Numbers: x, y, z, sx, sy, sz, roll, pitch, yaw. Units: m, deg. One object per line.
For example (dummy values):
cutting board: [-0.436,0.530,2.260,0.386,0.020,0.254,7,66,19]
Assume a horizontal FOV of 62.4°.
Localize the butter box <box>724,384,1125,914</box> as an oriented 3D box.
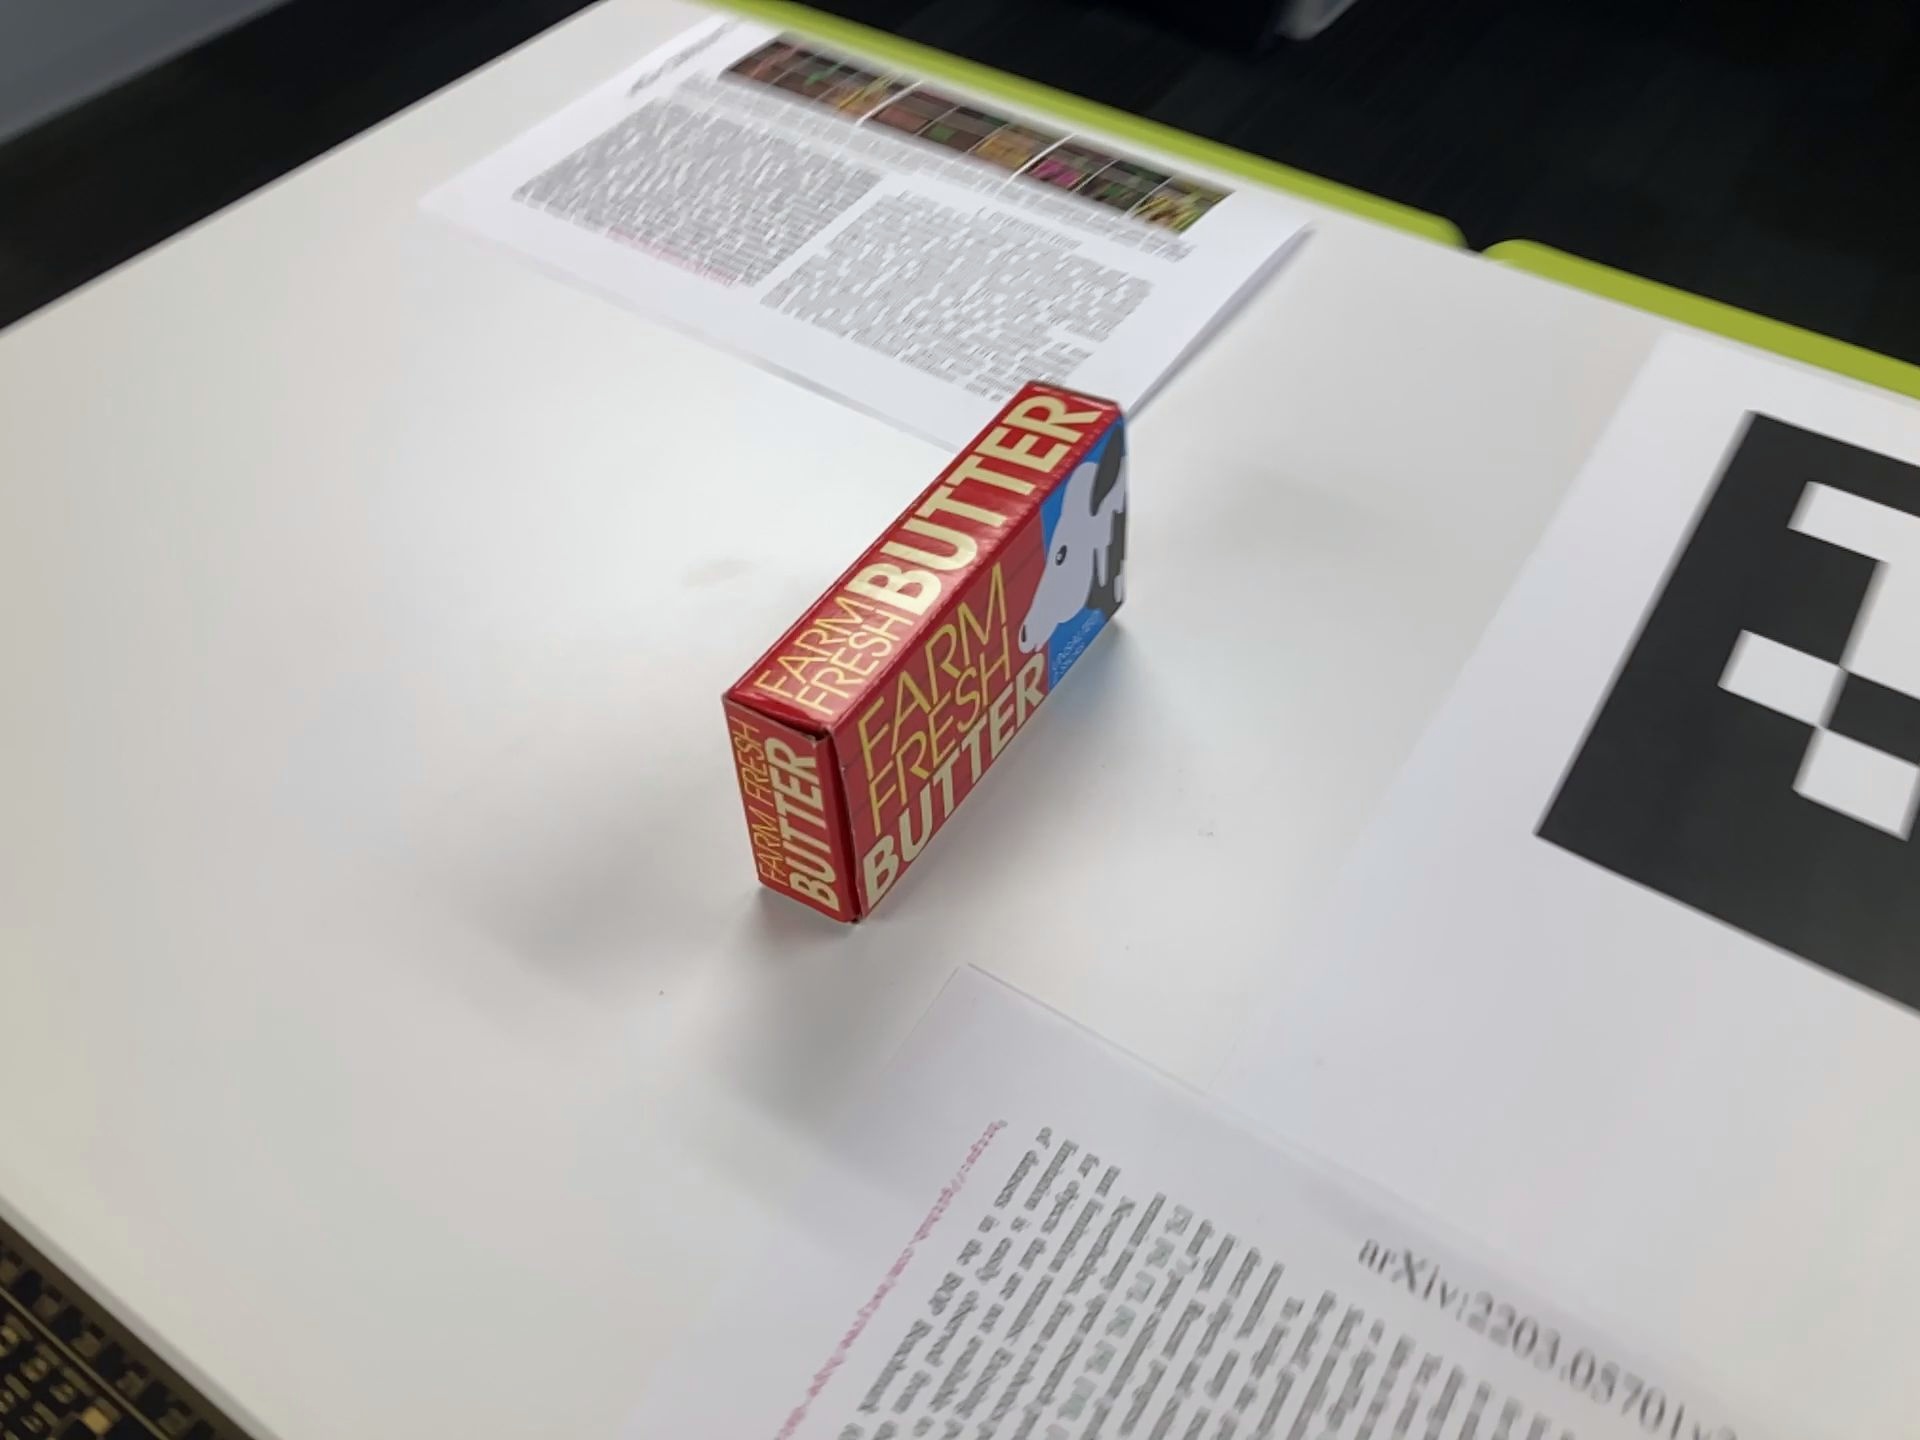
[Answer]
butter box: [-0.002,-0.016,0.309,0.024,0.053,0.103,23,52,24]
